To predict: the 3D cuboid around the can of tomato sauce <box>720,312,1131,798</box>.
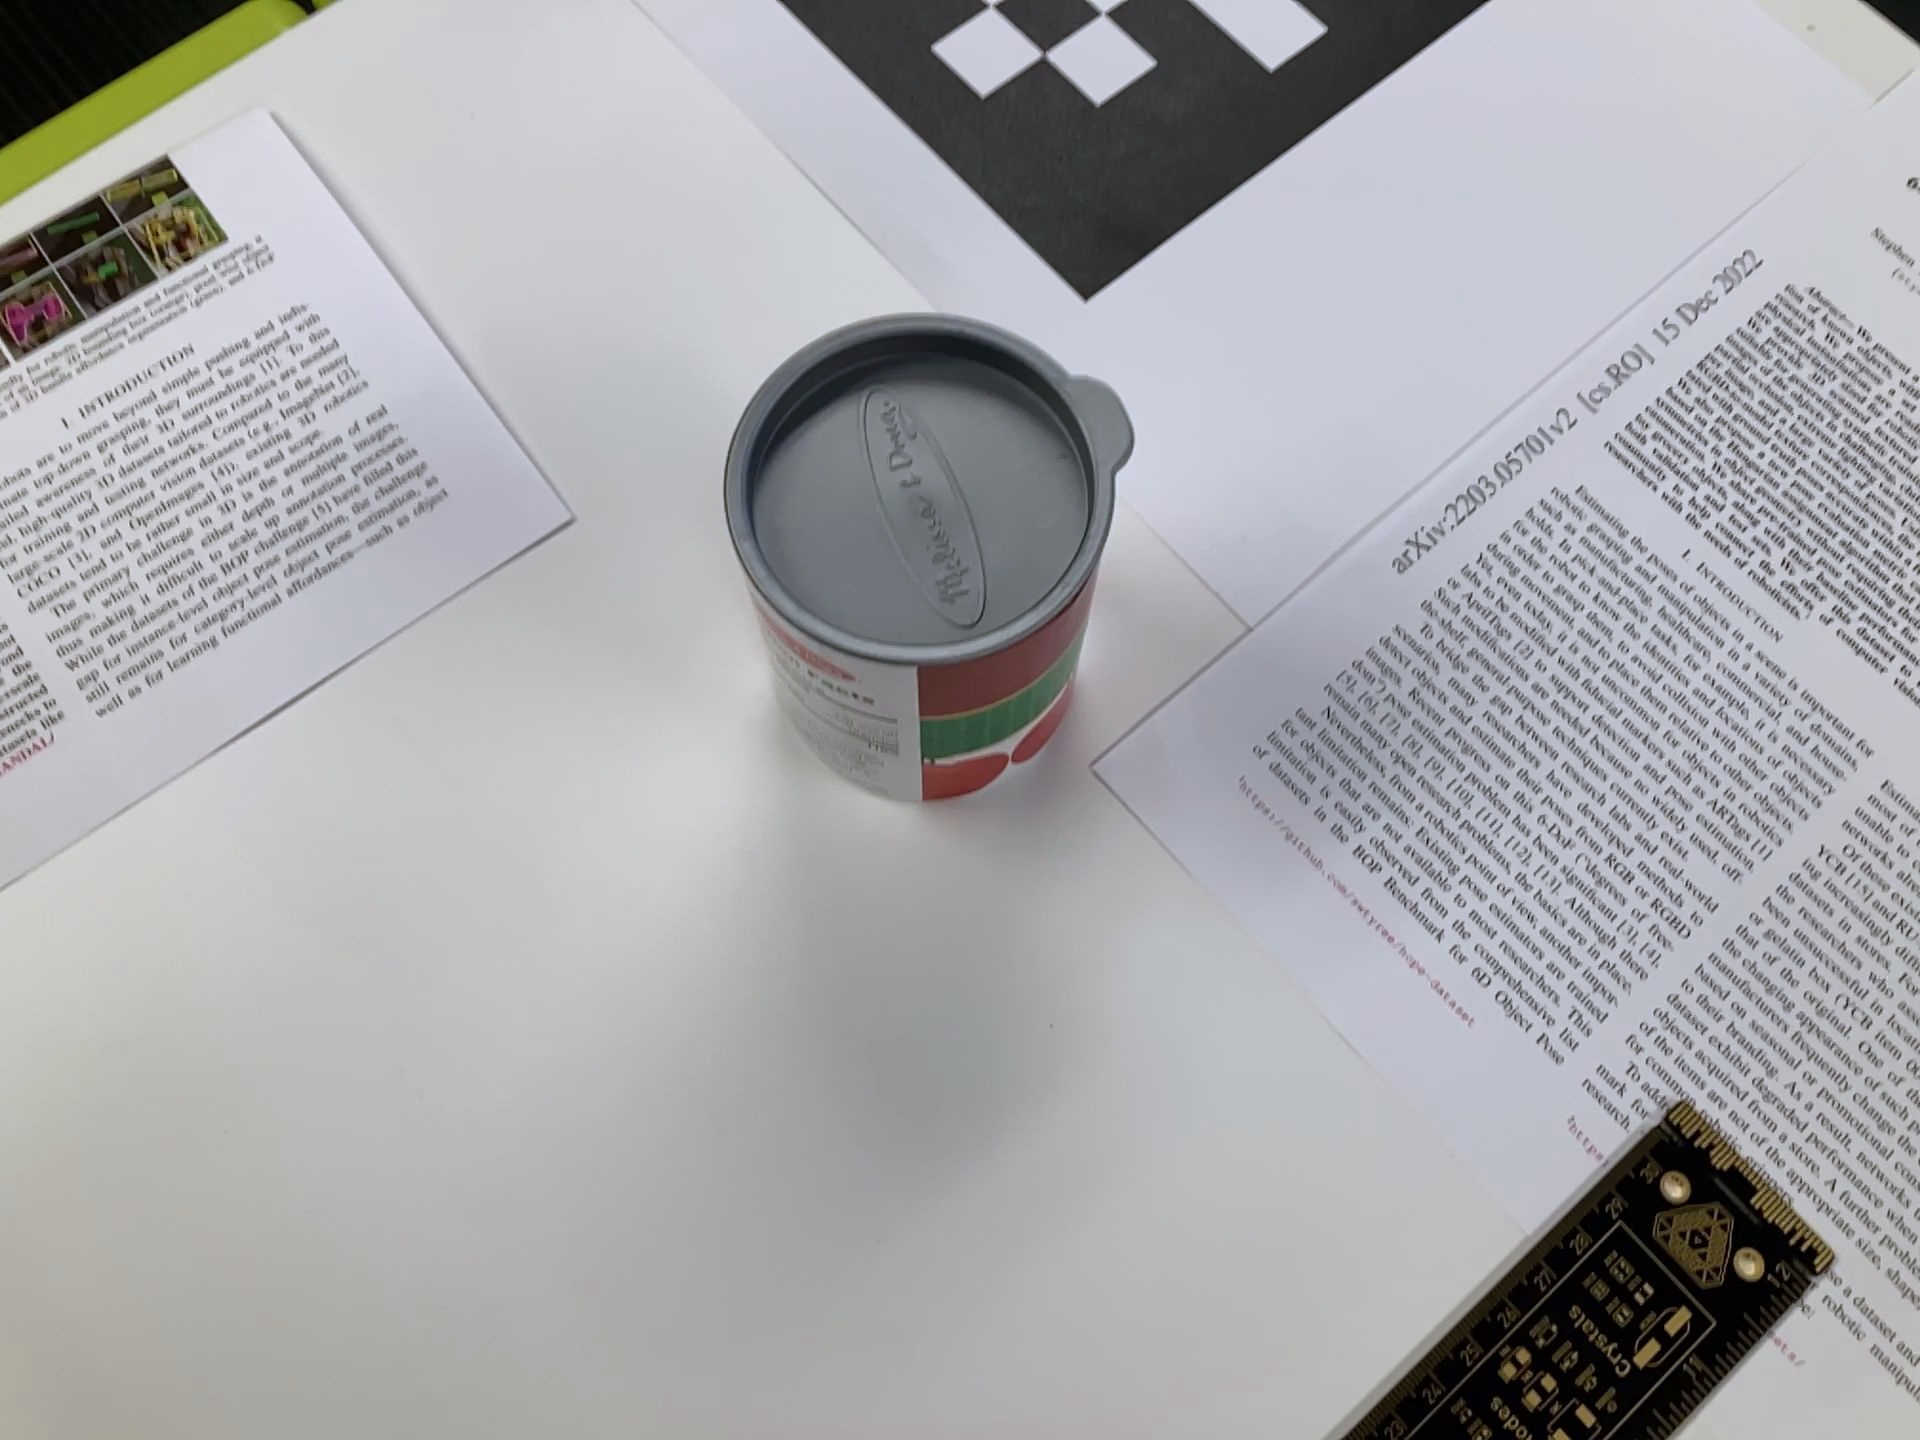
[{"bbox_3d":[-0.006,-0.028,0.307,0.071,0.083,0.071,0,71,0],"label":"can of tomato sauce"}]
